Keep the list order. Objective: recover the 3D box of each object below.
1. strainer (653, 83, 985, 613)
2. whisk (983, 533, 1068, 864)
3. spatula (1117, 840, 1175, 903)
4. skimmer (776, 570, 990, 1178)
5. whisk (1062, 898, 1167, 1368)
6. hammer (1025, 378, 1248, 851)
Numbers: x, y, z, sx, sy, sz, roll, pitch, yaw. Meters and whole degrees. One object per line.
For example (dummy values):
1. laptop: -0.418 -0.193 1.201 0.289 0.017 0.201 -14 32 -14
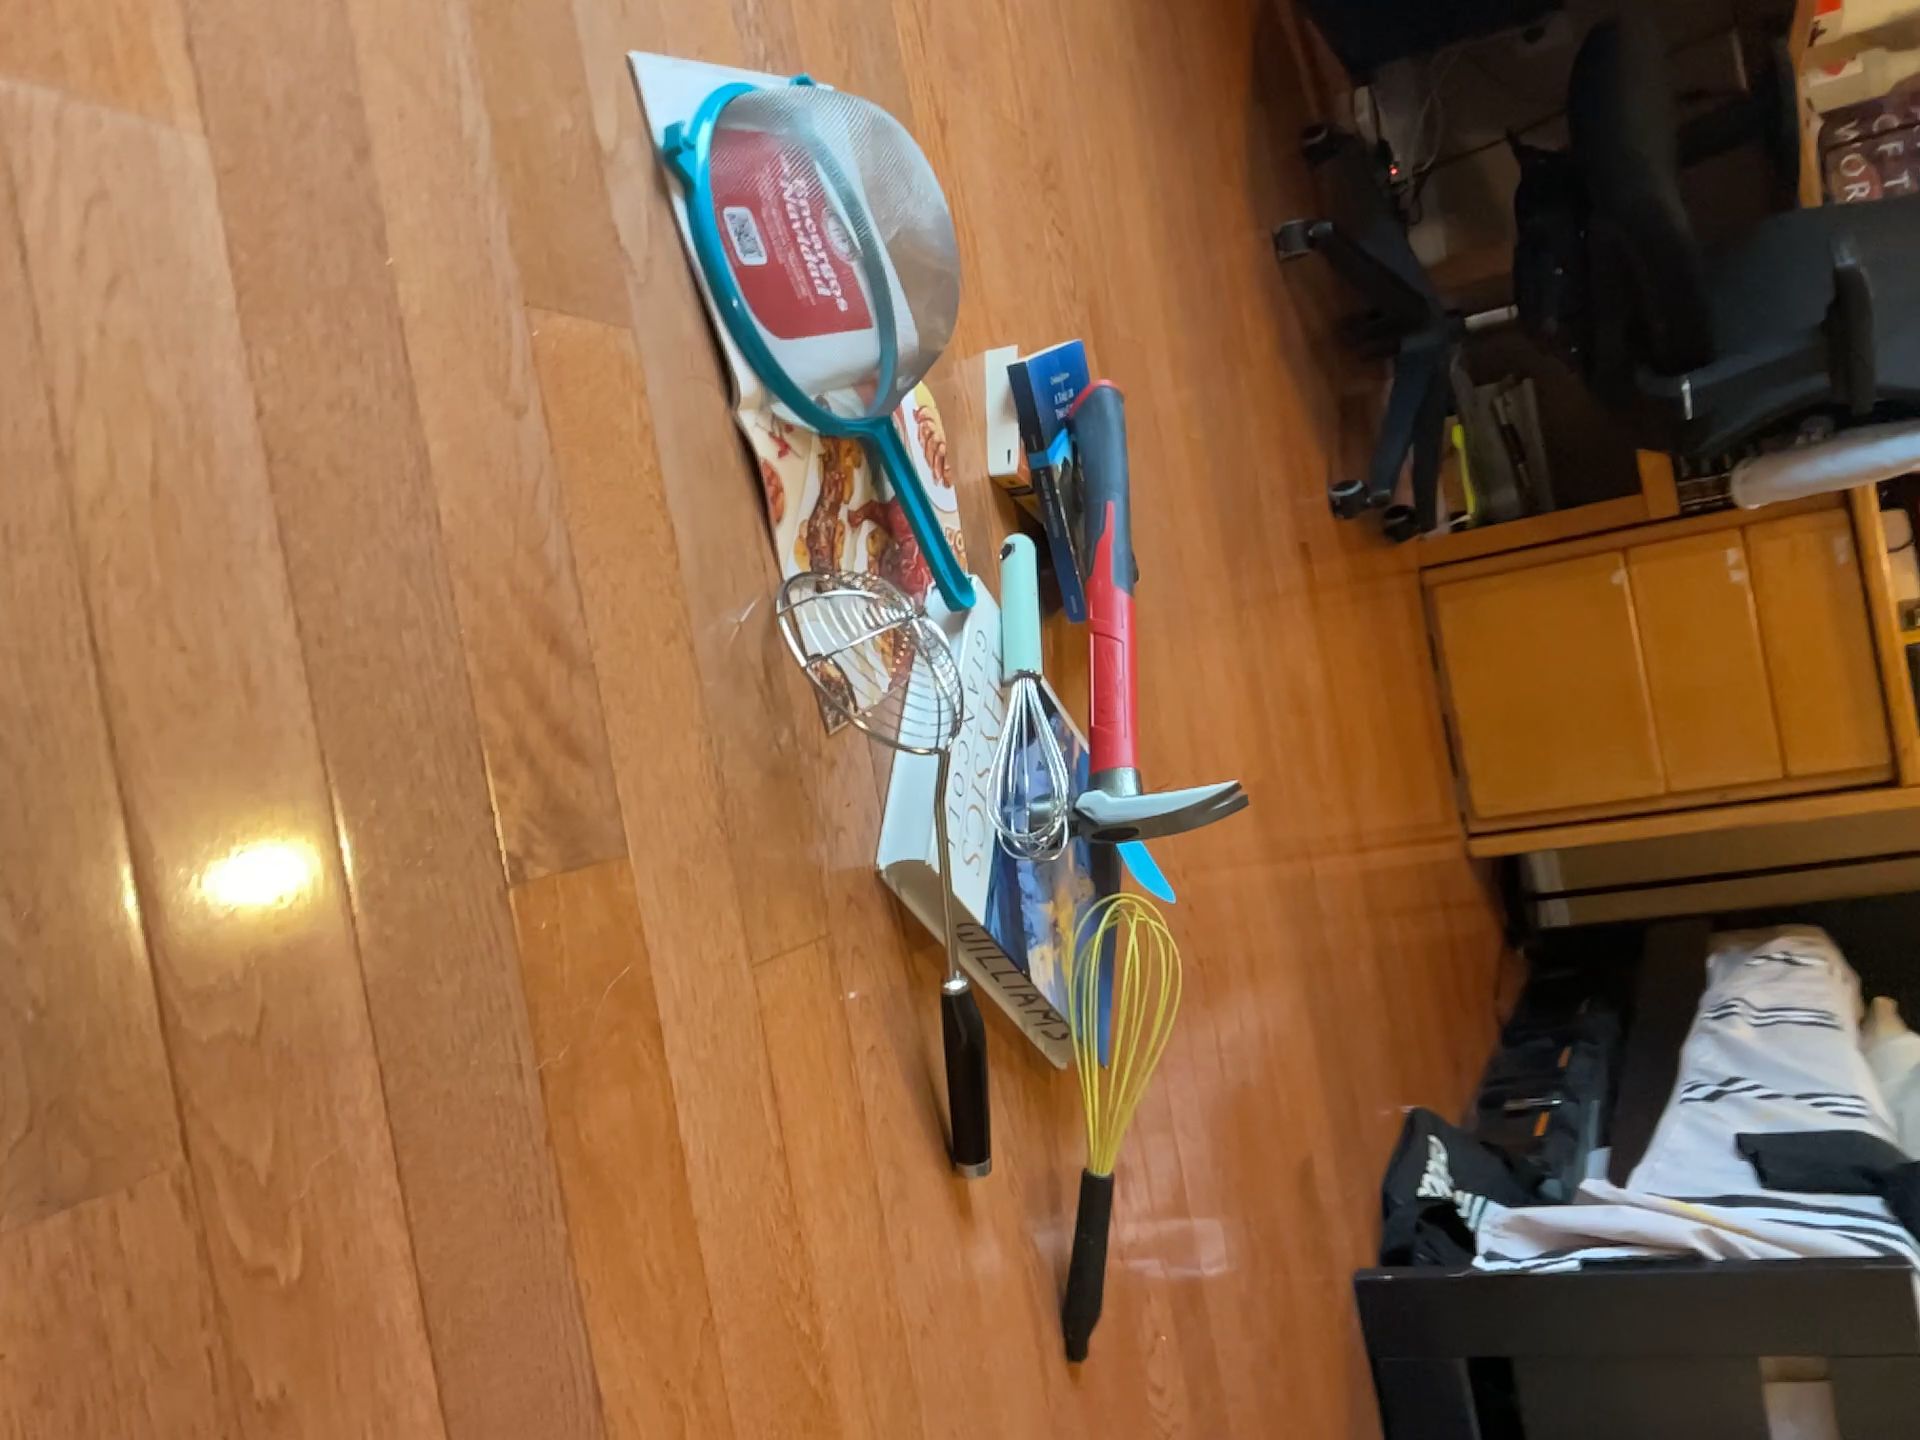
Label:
1. strainer: -0.035 -0.223 0.944 0.340 0.095 0.211 63 28 -18
2. whisk: 0.040 -0.019 1.028 0.059 0.057 0.247 18 55 -28
3. spatula: 0.120 -0.021 1.191 0.082 0.044 0.318 34 50 -55
4. skimmer: -0.036 0.094 0.917 0.127 0.090 0.363 -40 127 -65
5. whisk: 0.094 0.272 1.052 0.080 0.067 0.312 3 92 -80
6. hammer: 0.119 -0.093 1.124 0.038 0.143 0.387 52 33 -51
